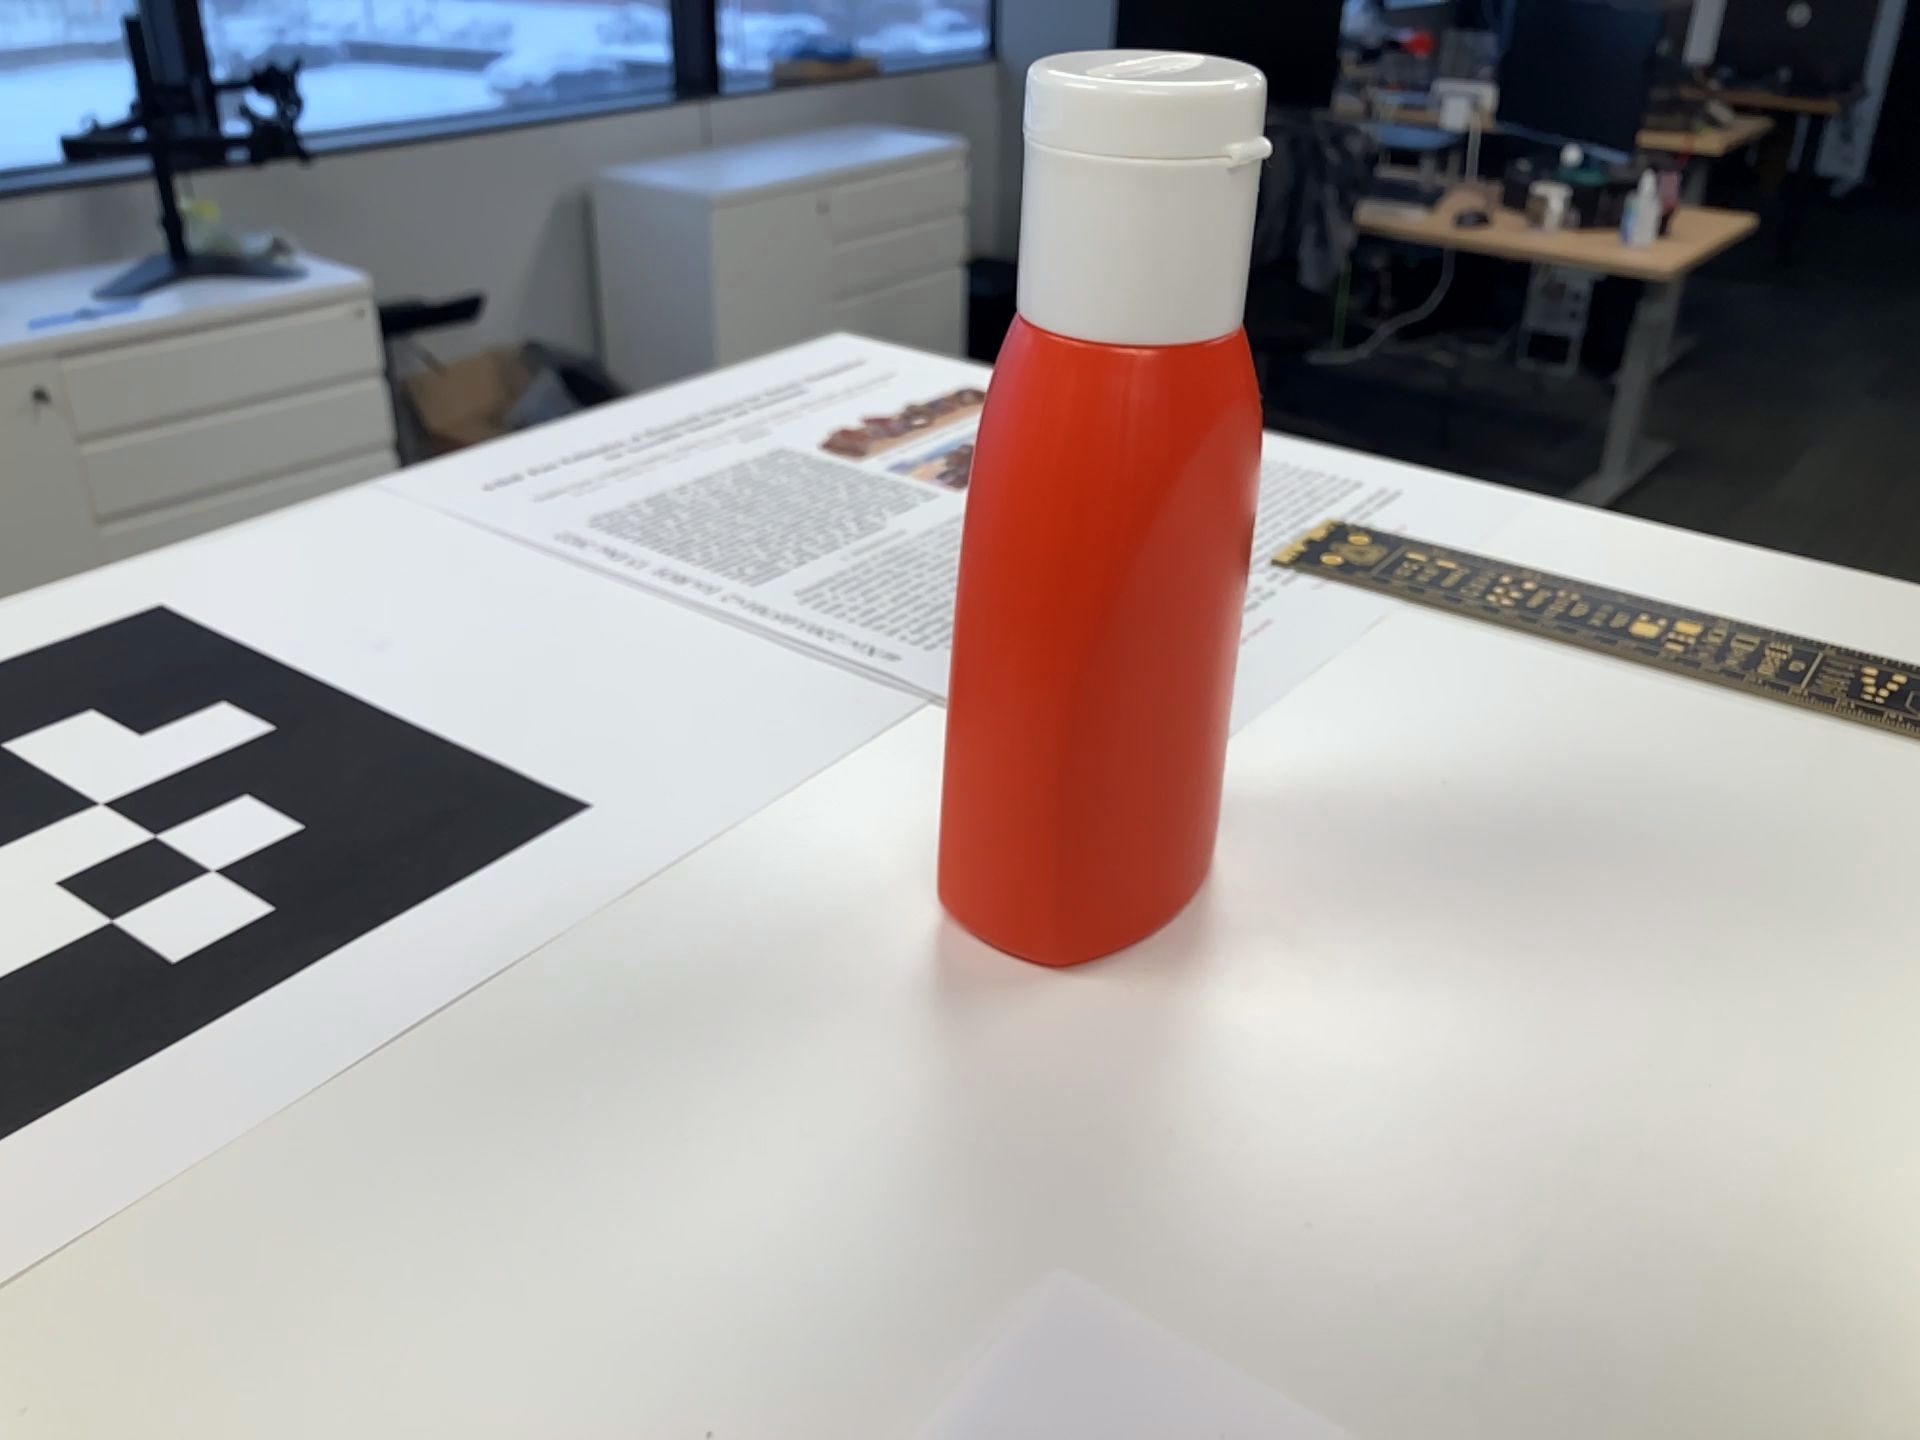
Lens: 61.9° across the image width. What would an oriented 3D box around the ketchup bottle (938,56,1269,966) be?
[{"bbox_3d":[0.026,-0.033,0.276,0.043,0.149,0.065,22,35,32],"label":"ketchup bottle"}]
